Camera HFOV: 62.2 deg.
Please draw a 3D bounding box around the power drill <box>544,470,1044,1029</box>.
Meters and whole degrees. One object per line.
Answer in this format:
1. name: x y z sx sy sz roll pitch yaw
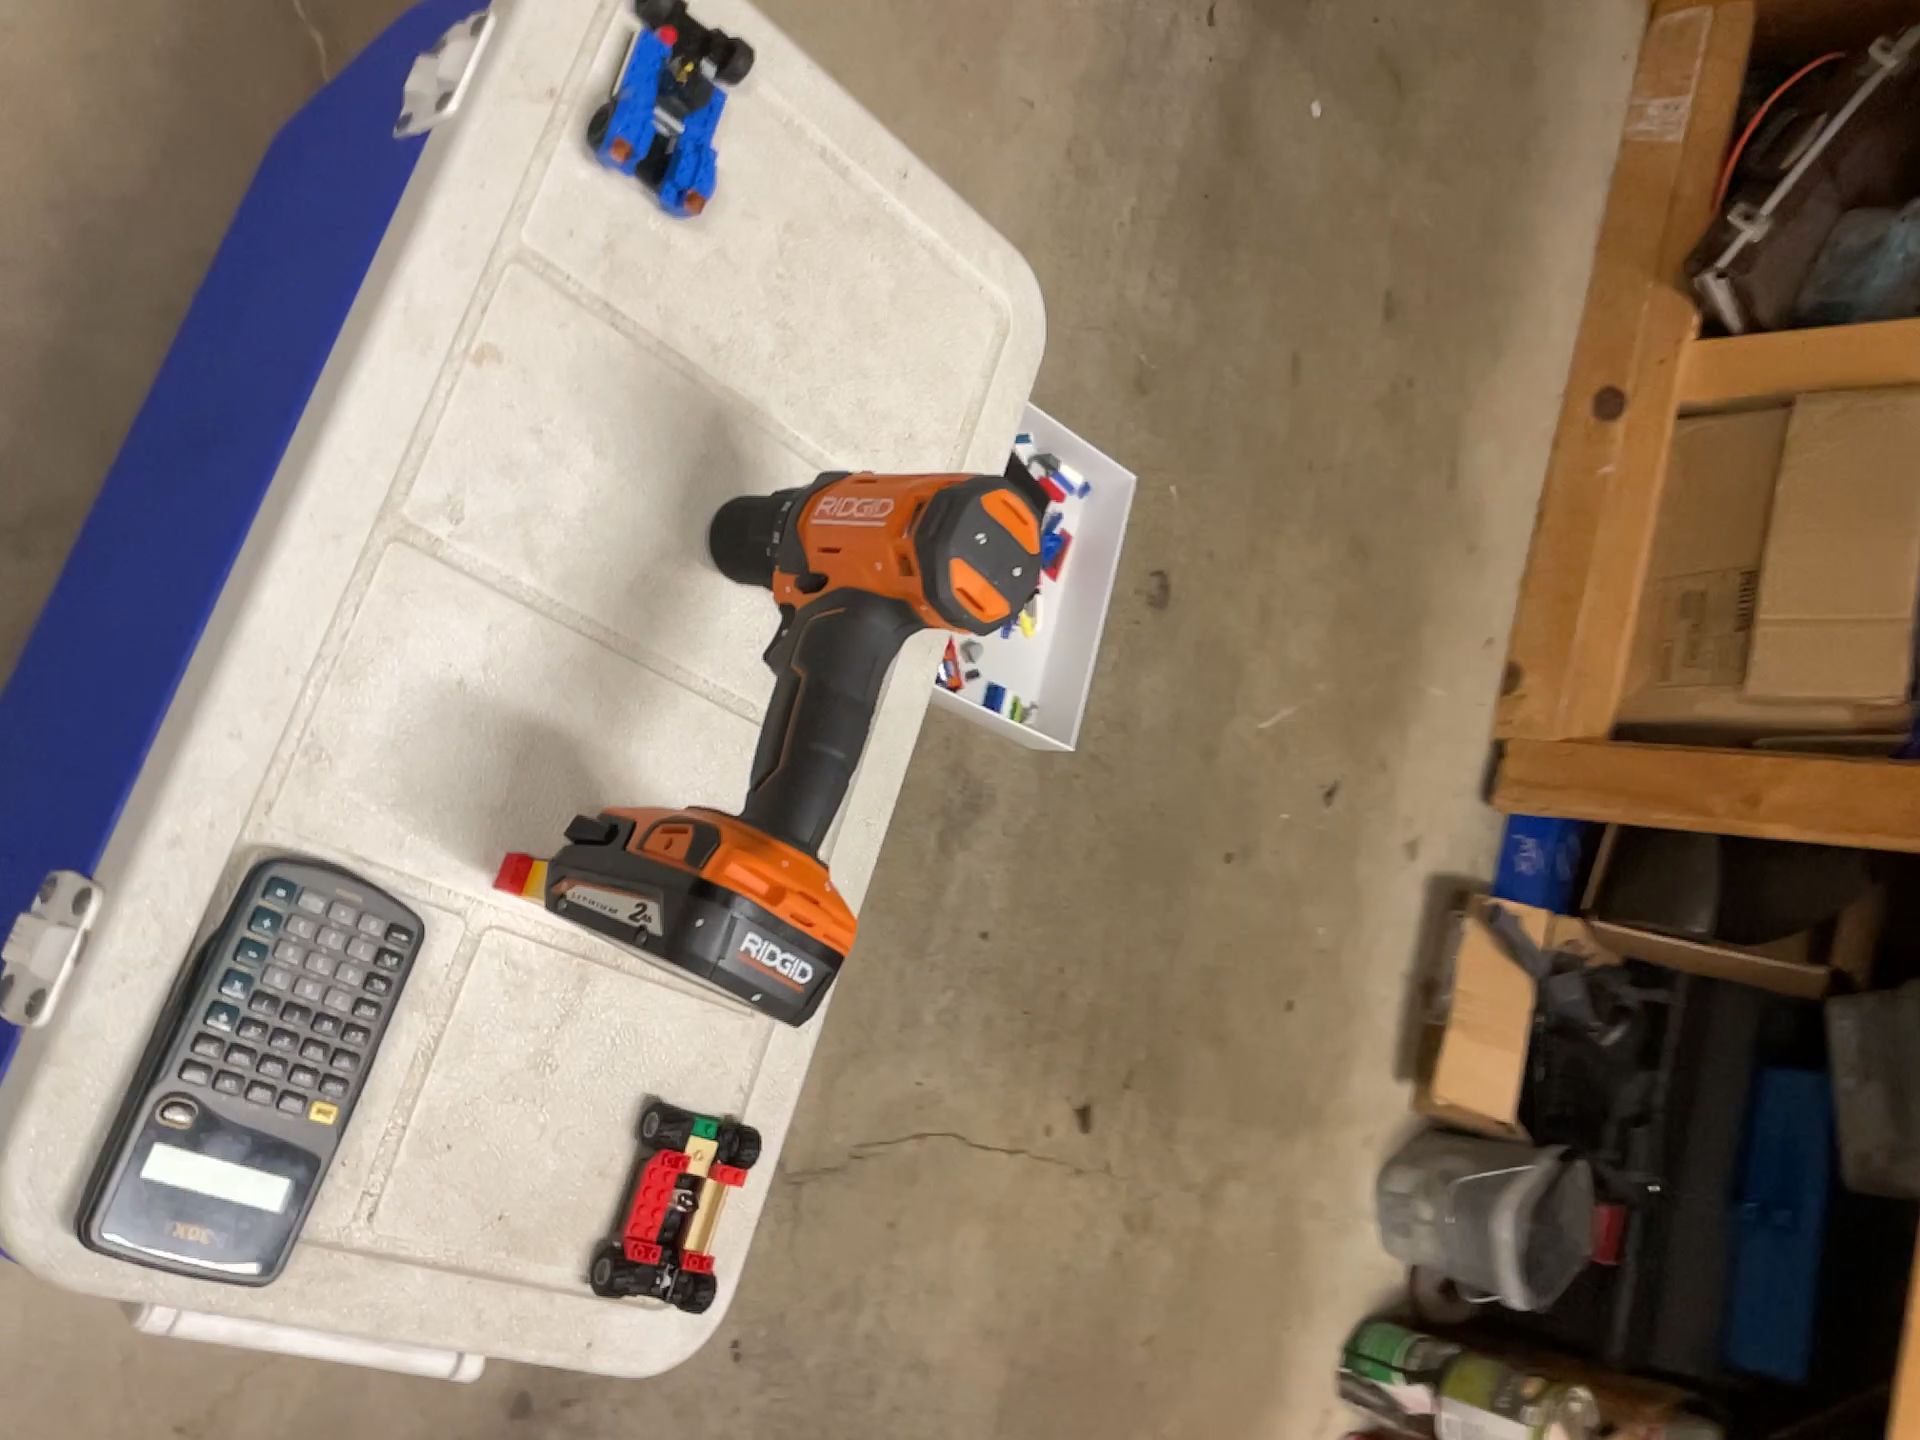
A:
1. power drill: -0.081 -0.005 0.661 0.084 0.185 0.226 39 71 -40
